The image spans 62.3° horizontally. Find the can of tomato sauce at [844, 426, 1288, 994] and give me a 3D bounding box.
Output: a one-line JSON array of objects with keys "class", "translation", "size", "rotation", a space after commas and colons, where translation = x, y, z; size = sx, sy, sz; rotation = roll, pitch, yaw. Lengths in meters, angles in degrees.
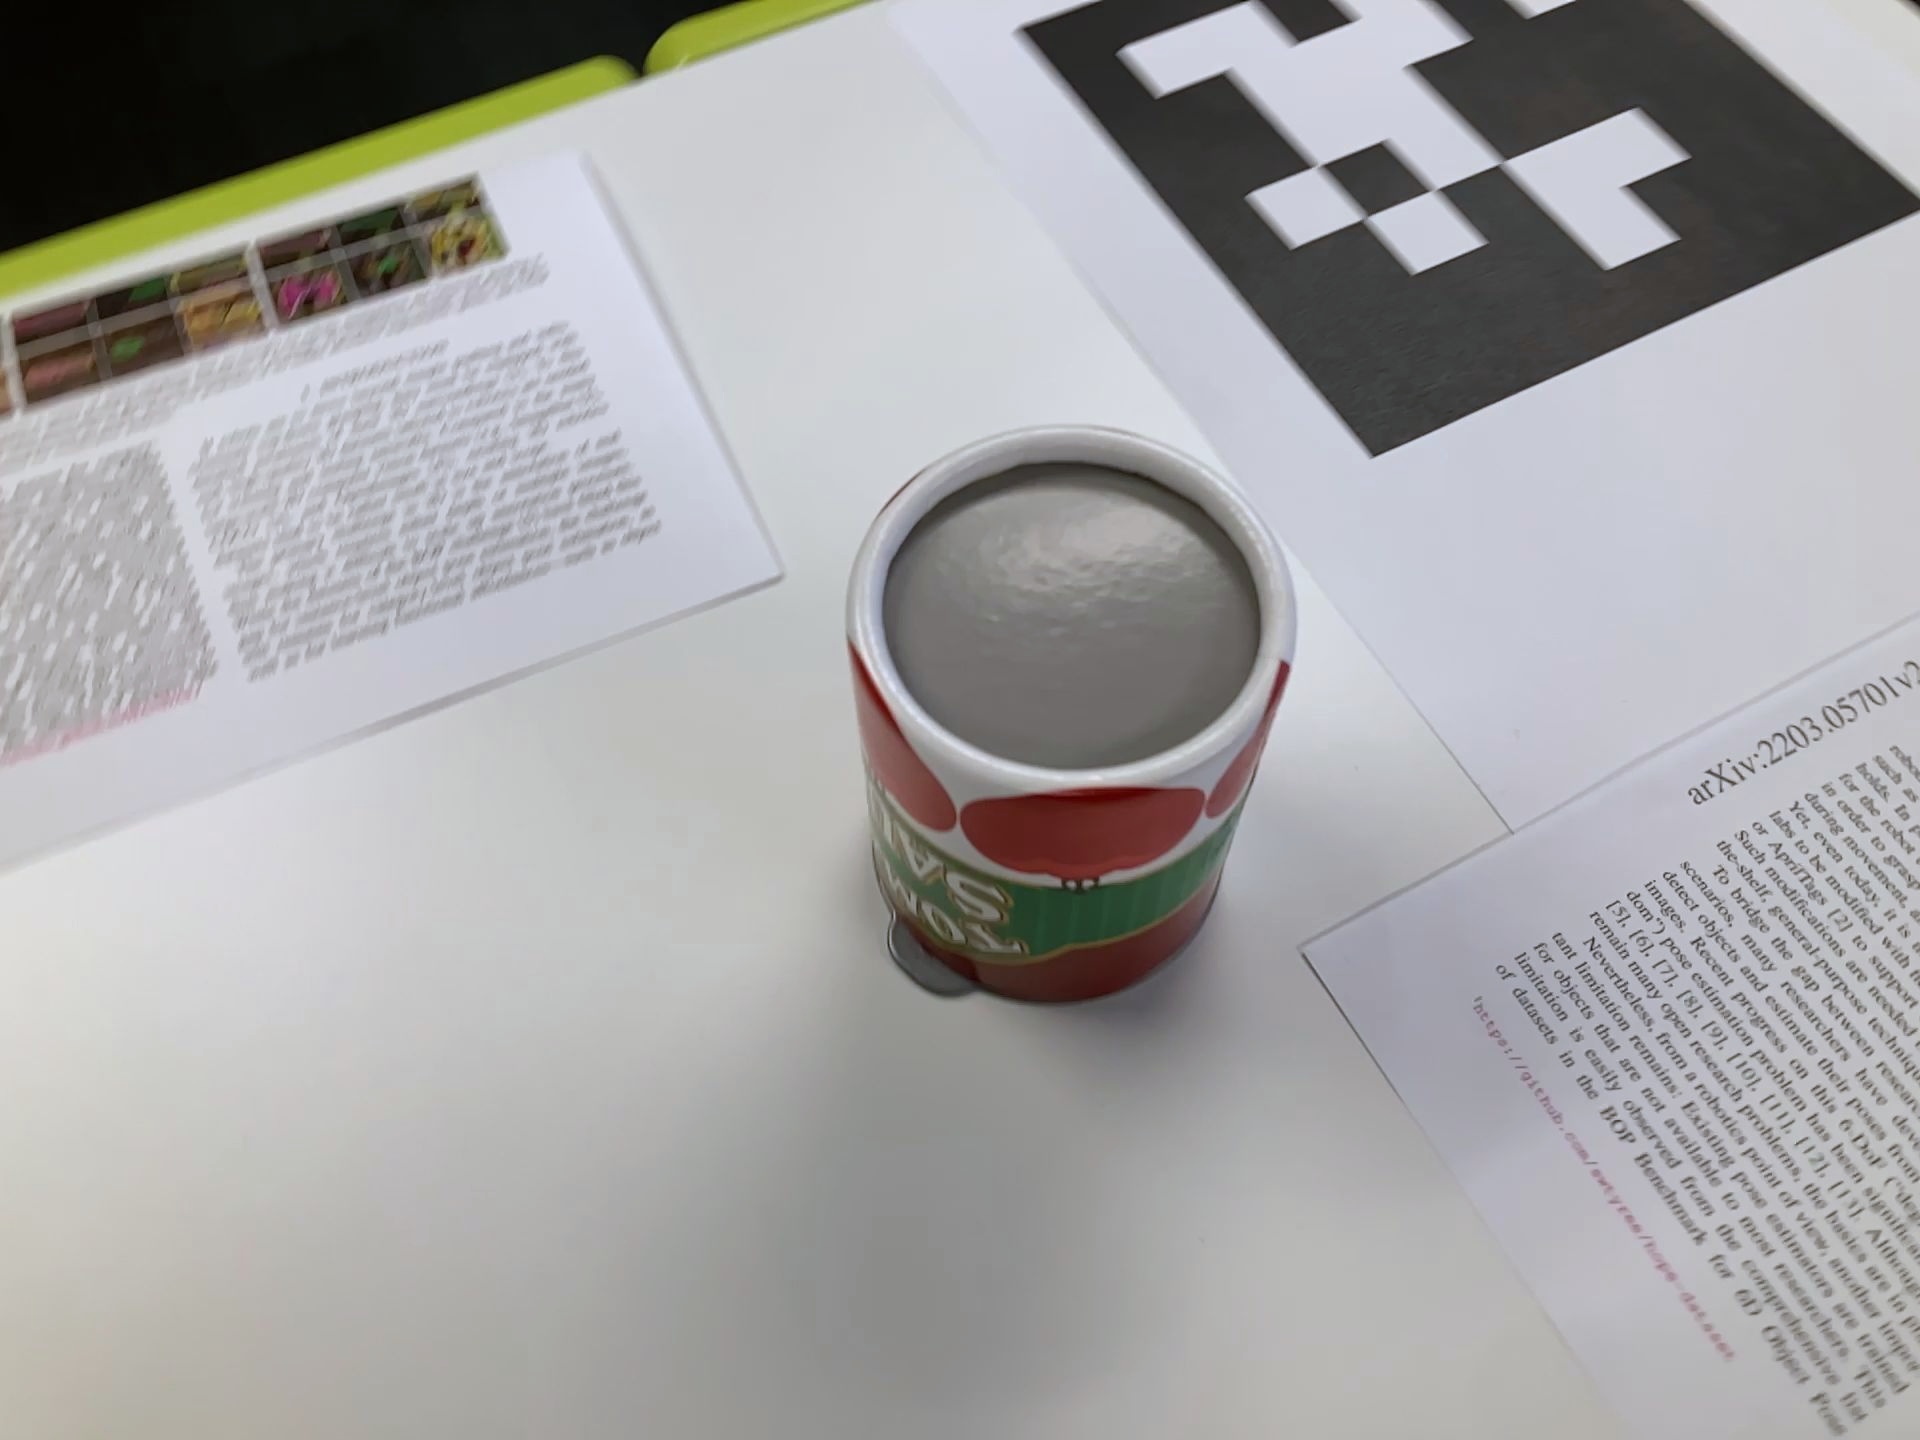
[{"class": "can of tomato sauce", "translation": [0.014, 0.002, 0.267], "size": [0.071, 0.083, 0.071], "rotation": [0, 63, 0]}]
